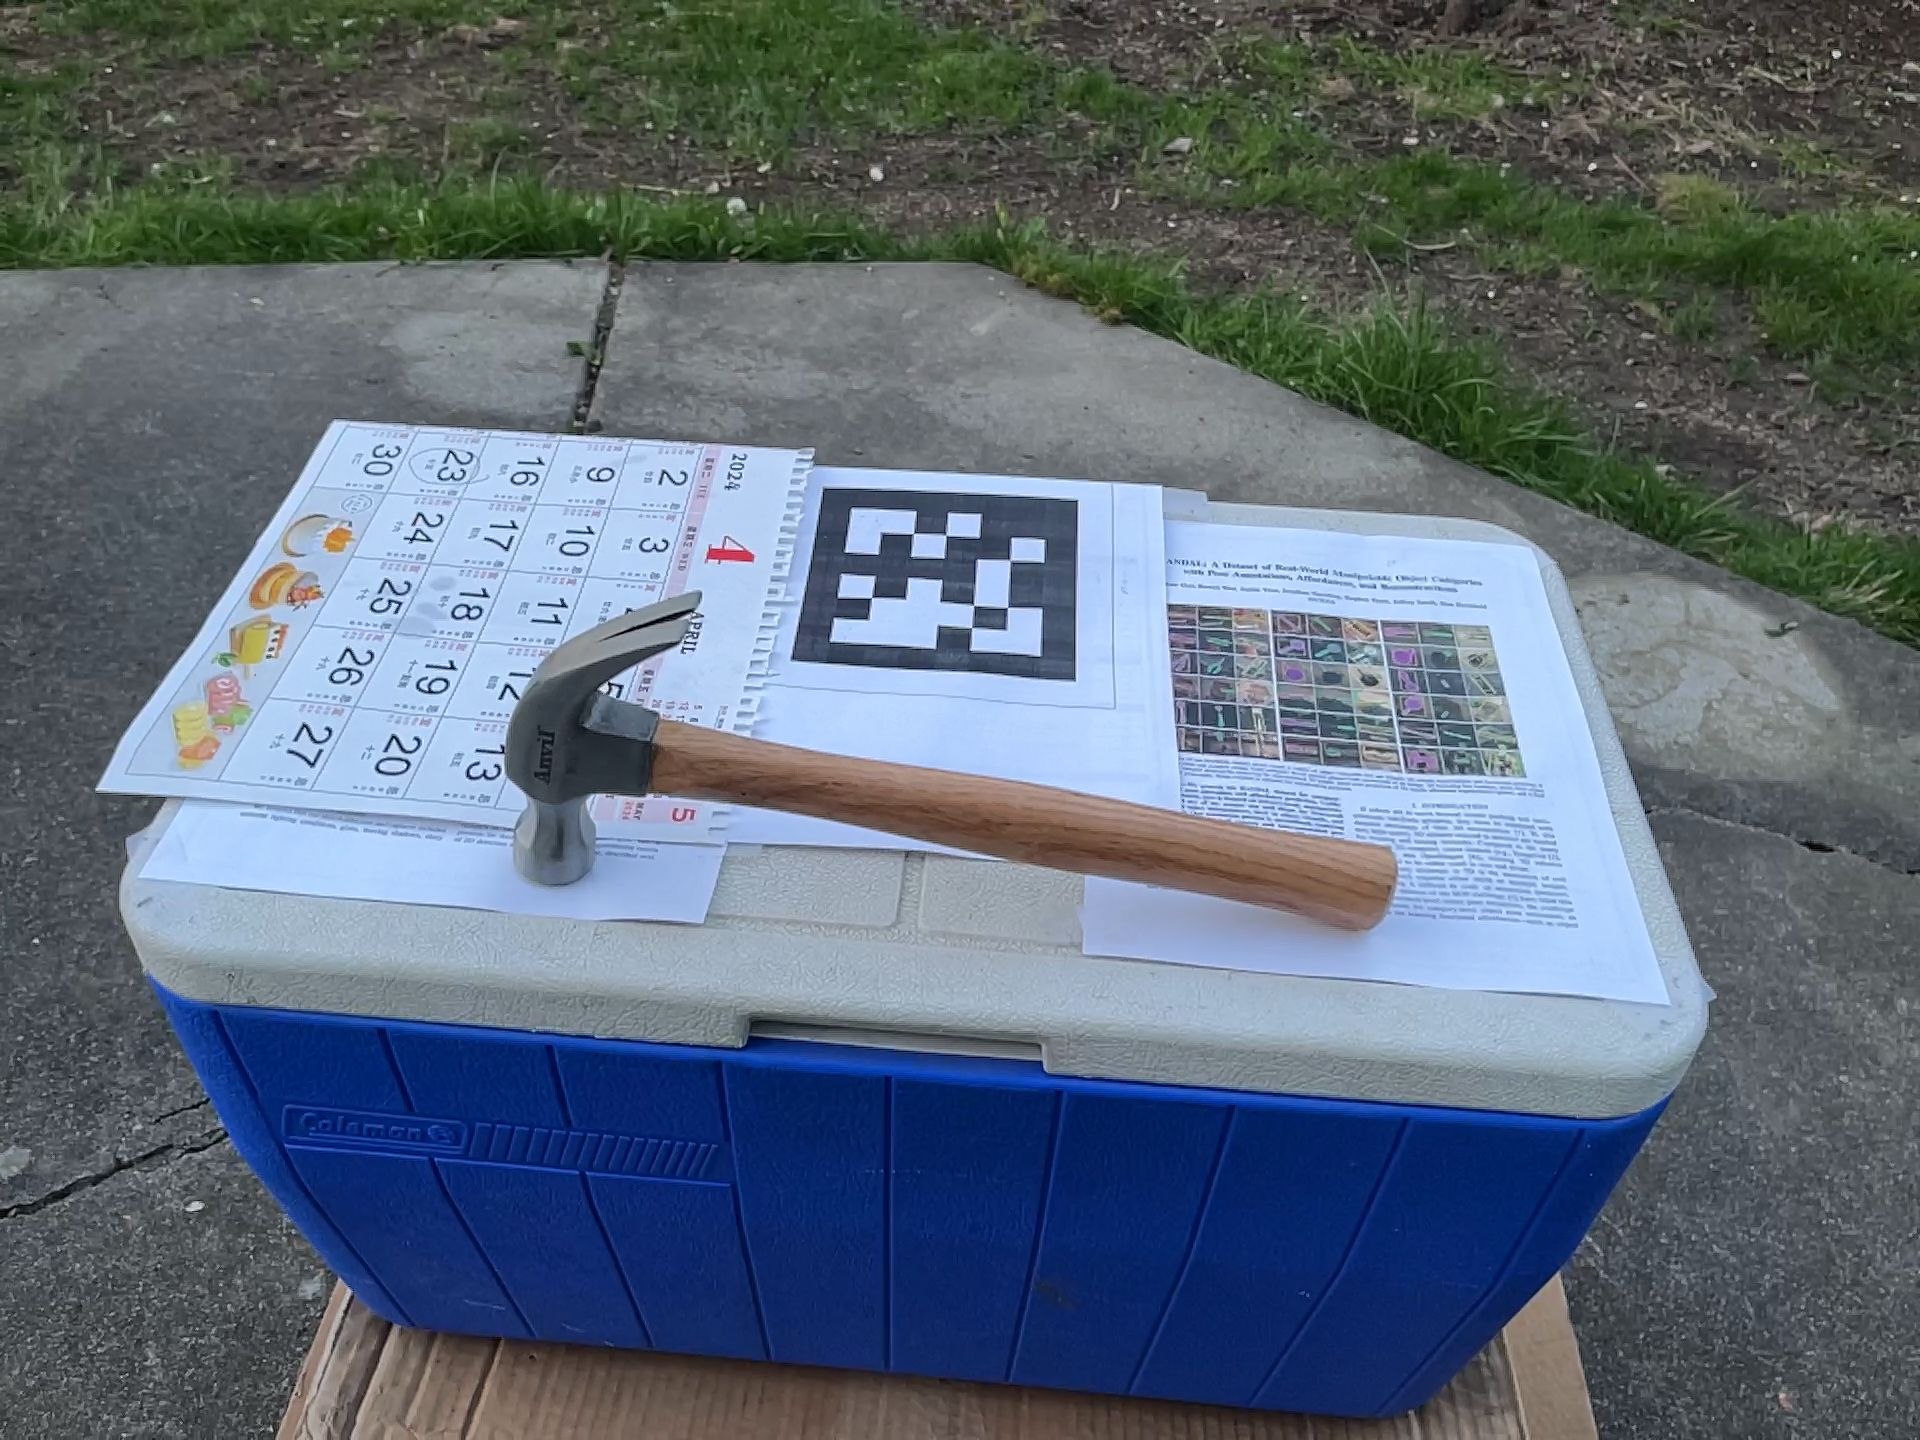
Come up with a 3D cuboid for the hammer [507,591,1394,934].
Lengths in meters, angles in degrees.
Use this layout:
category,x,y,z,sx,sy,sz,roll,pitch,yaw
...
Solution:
category,x,y,z,sx,sy,sz,roll,pitch,yaw
hammer,-0.001,0.032,0.577,0.331,0.130,0.031,11,38,-4
